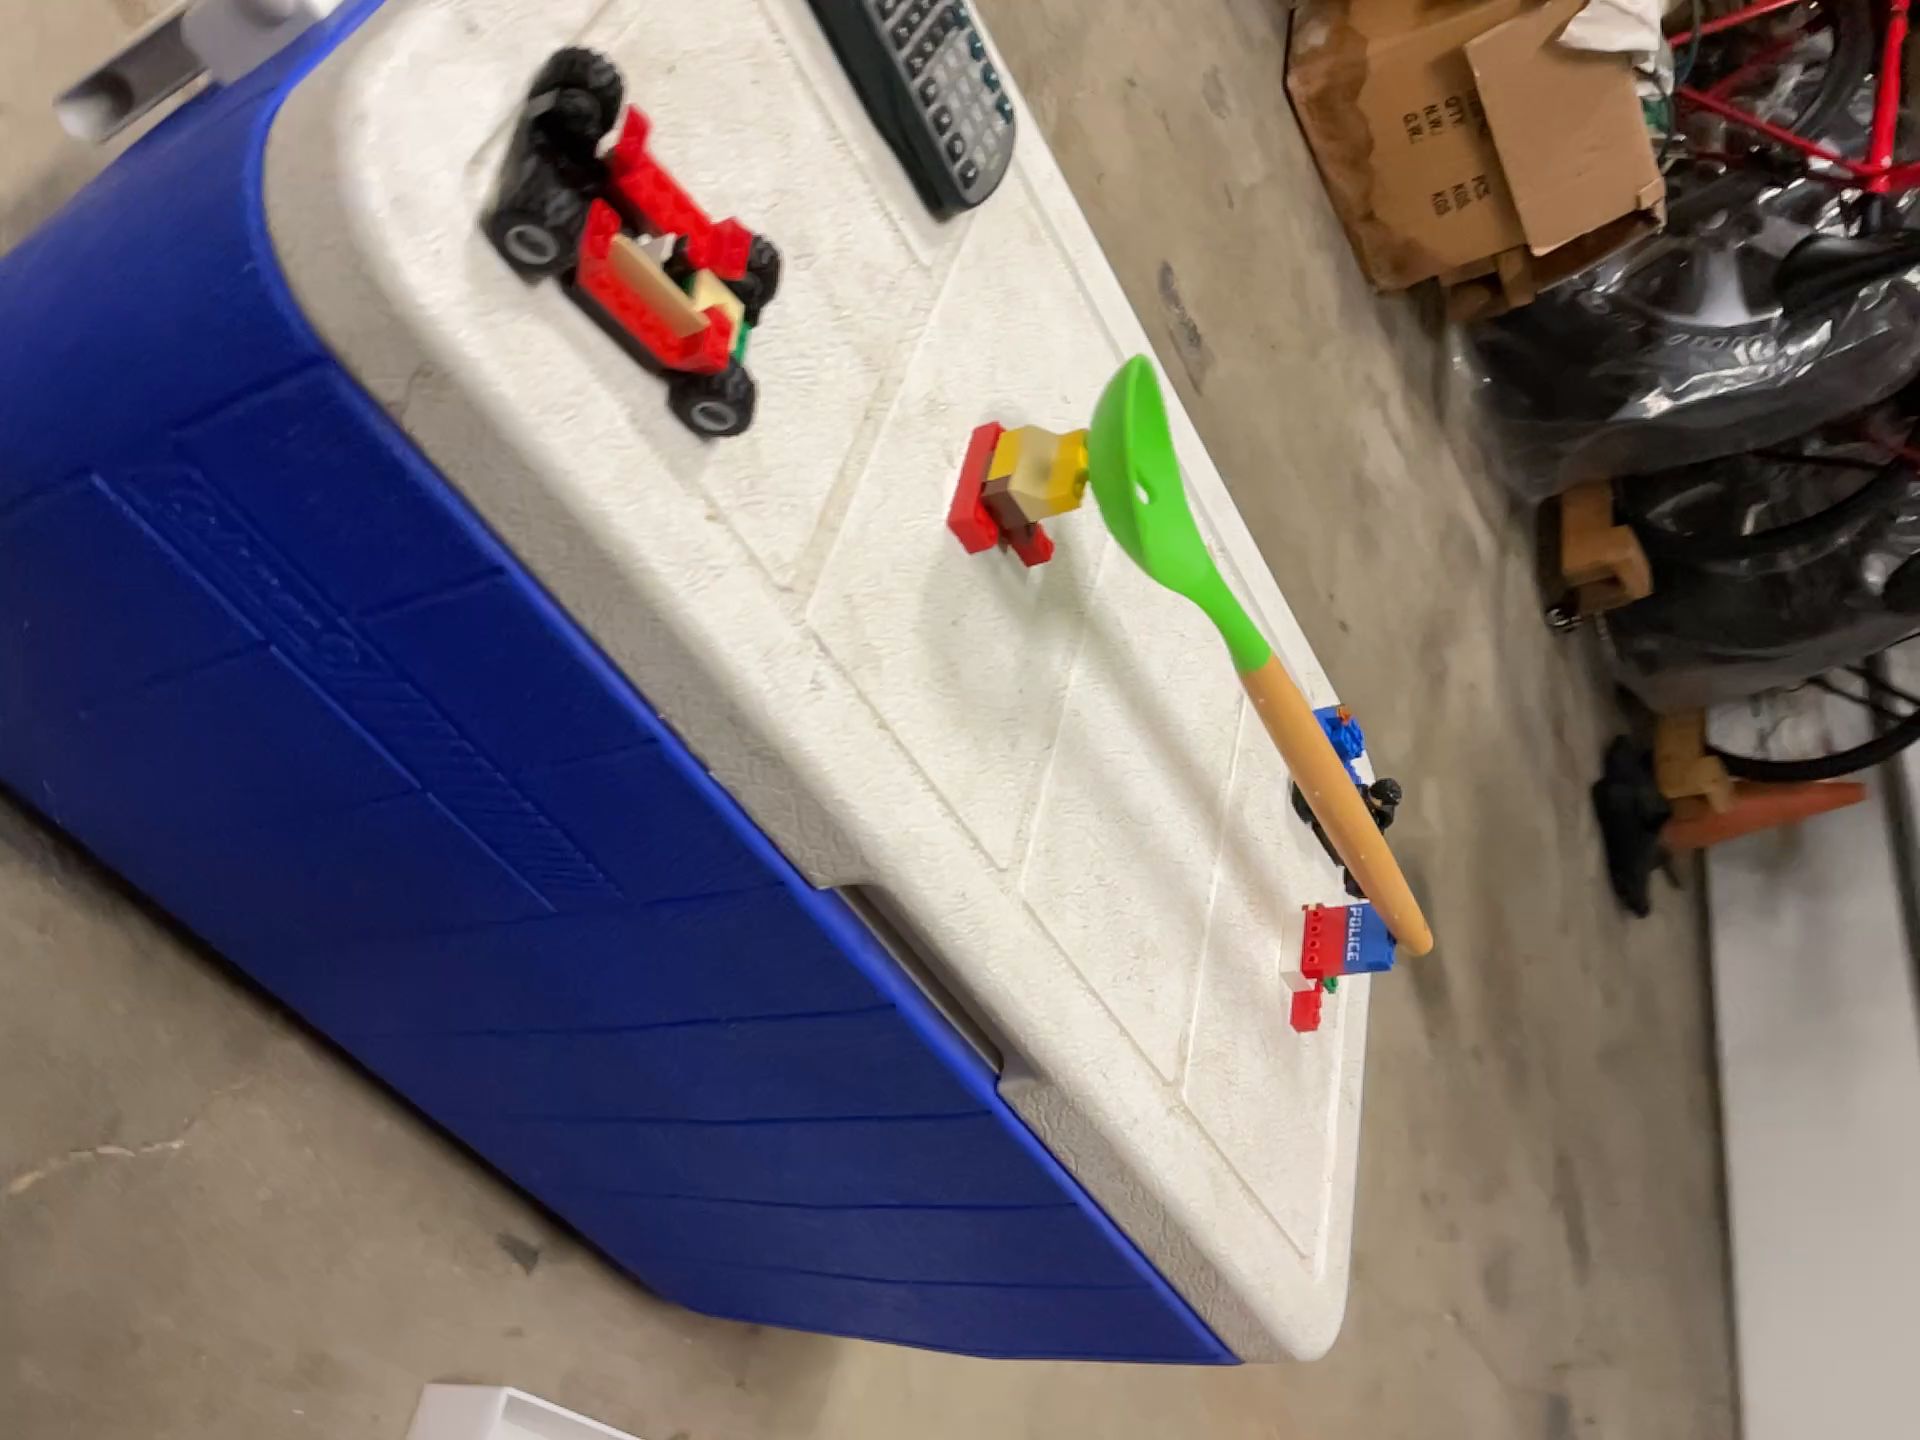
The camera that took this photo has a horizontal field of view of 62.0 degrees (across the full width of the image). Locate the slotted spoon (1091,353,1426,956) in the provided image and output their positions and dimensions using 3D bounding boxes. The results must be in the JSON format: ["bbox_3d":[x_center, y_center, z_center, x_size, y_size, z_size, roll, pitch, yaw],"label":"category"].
[{"bbox_3d":[0.118,-0.004,0.594,0.313,0.031,0.070,53,36,-36],"label":"slotted spoon"}]
